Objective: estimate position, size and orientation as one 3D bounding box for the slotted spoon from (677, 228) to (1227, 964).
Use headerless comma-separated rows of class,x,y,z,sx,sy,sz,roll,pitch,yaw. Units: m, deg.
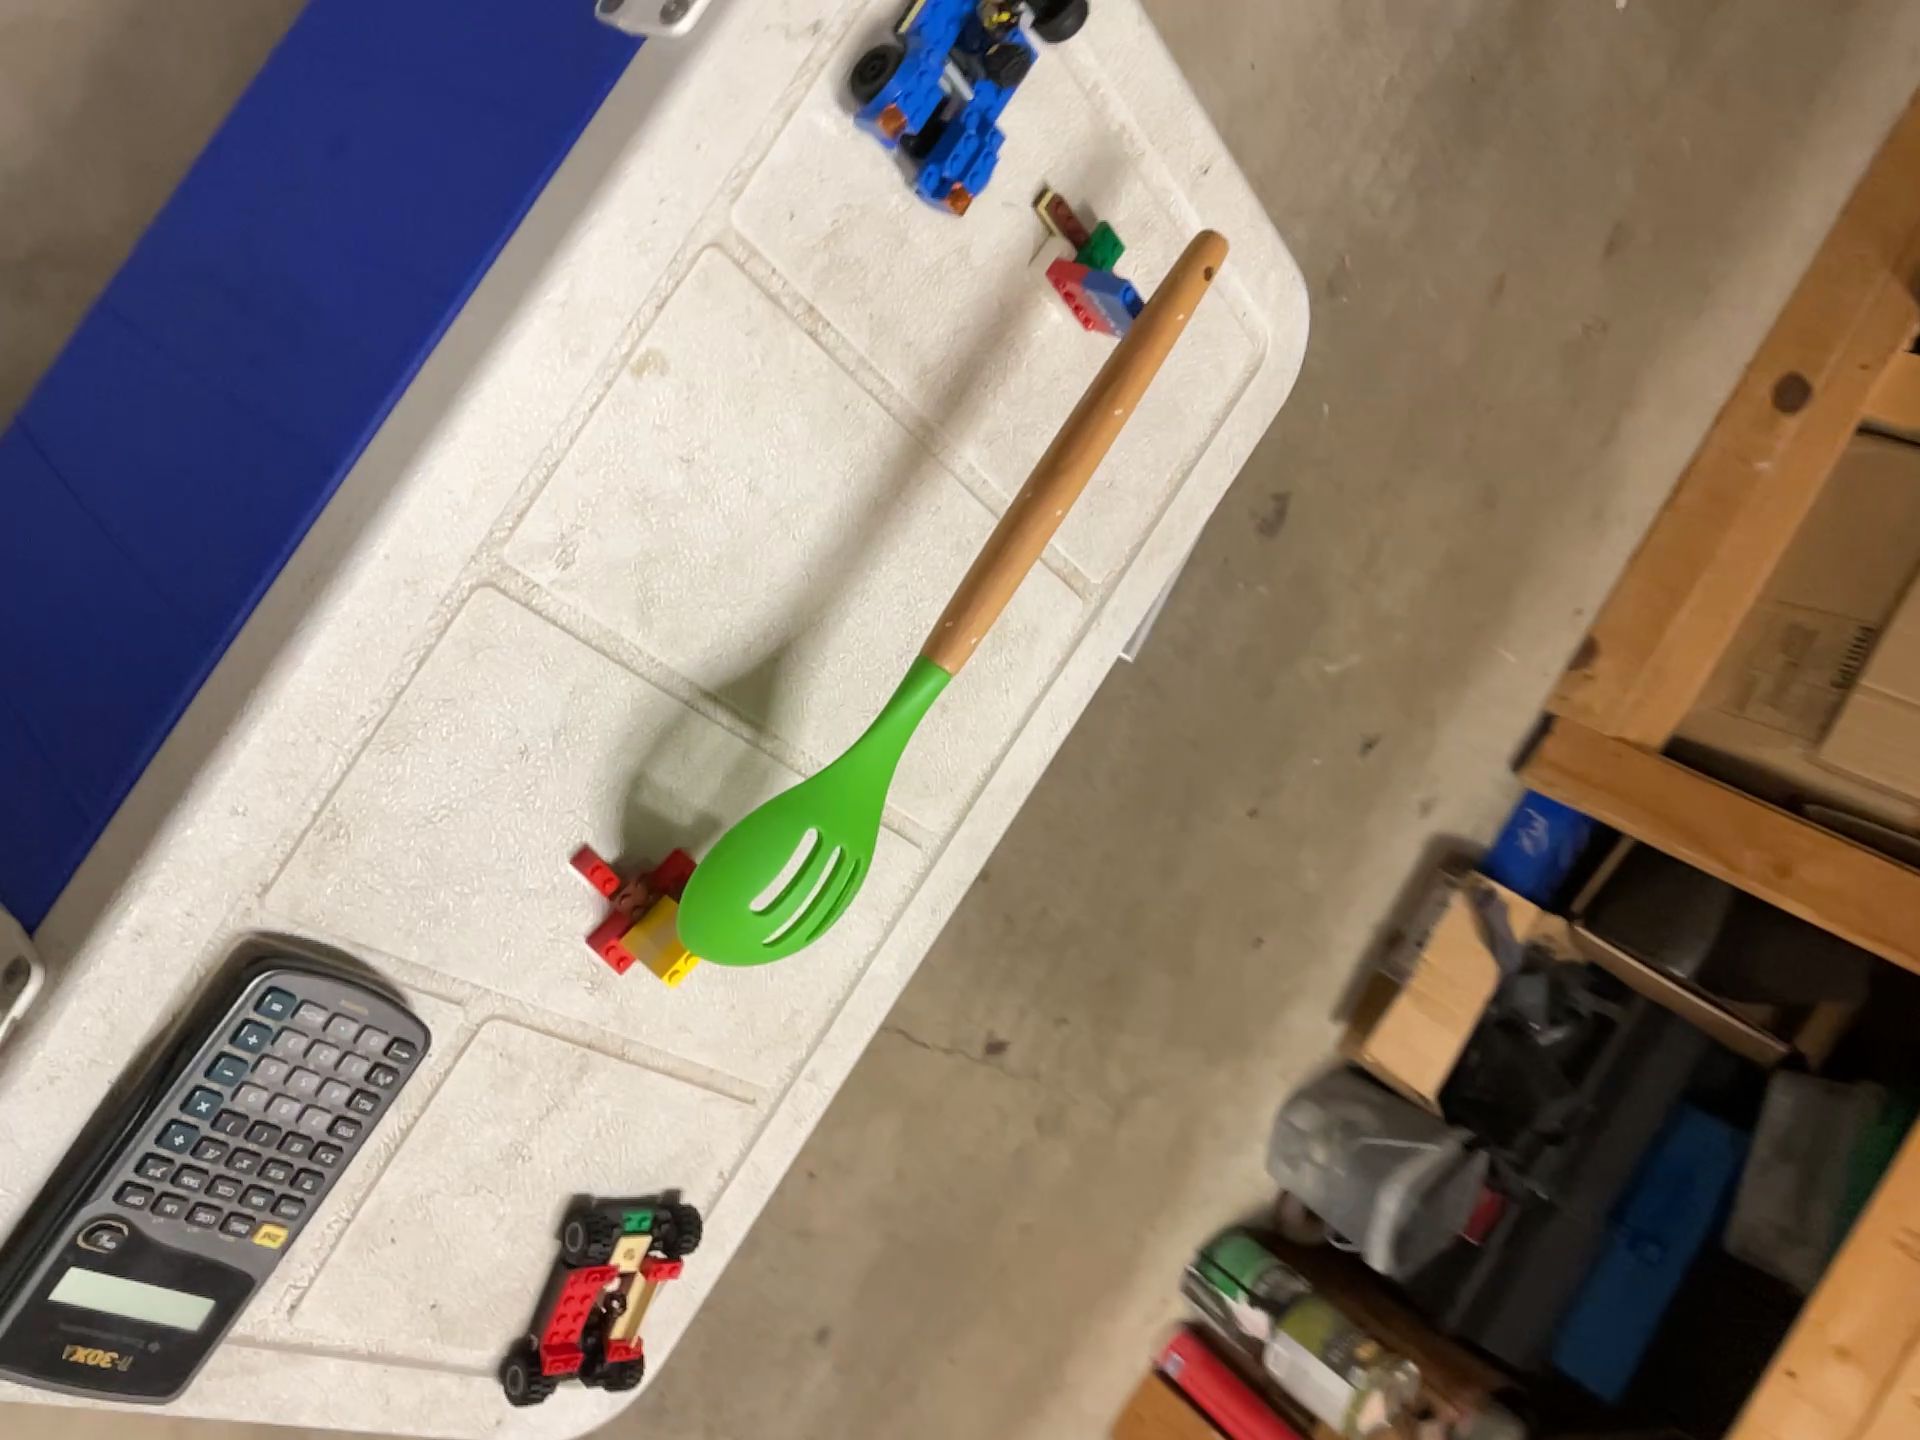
slotted spoon,0.004,-0.043,0.562,0.314,0.031,0.070,-57,138,-3
